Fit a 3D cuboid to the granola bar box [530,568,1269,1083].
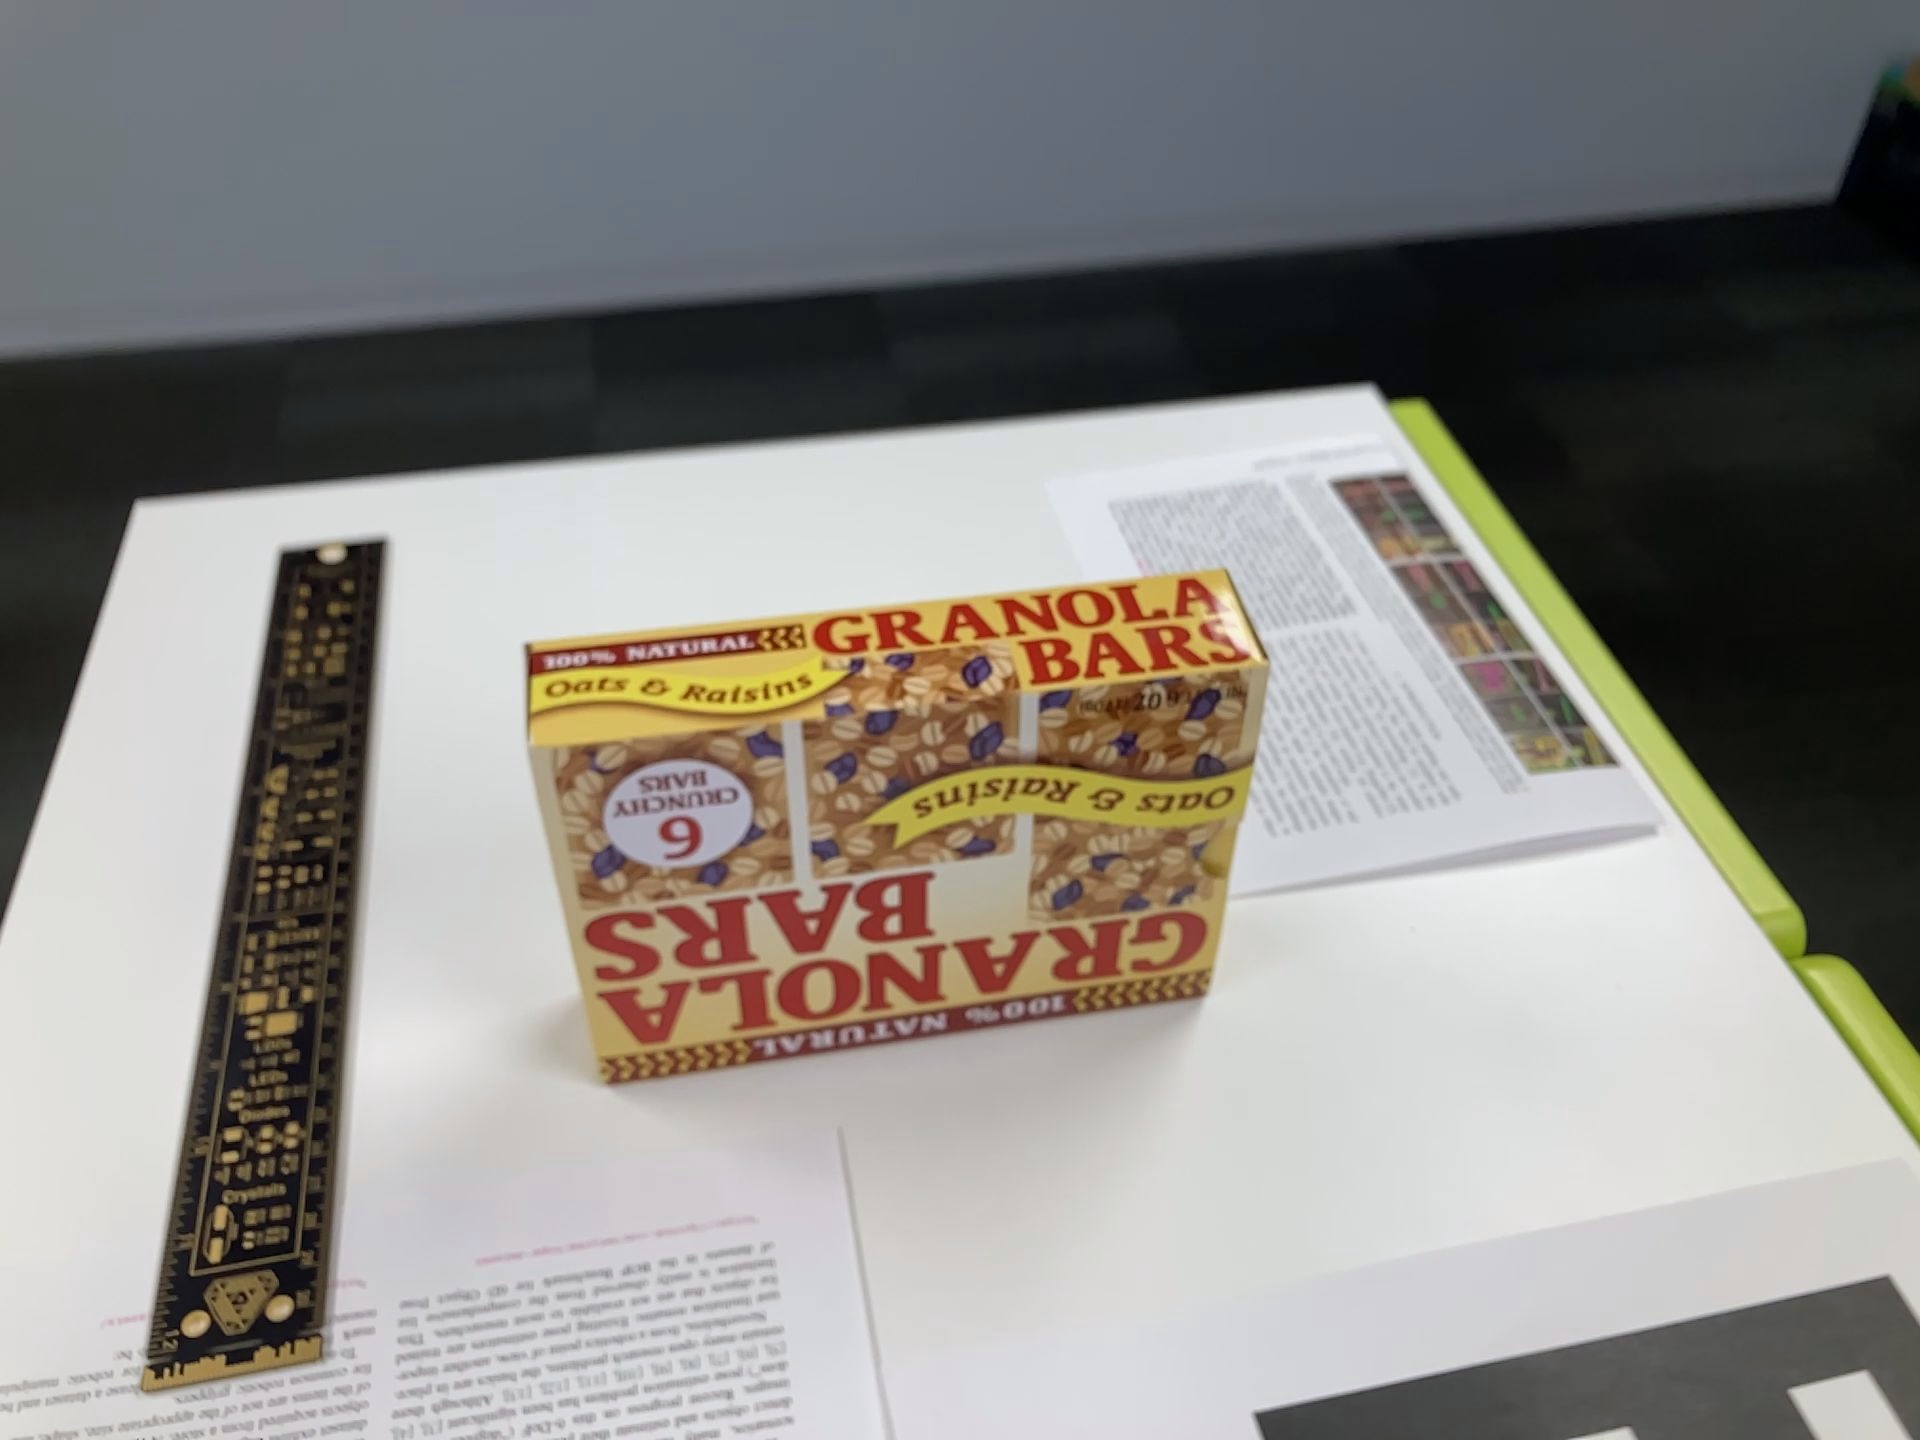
[{"bbox_3d":[-0.014,0.030,0.402,0.165,0.124,0.039,-7,43,-8],"label":"granola bar box"}]
